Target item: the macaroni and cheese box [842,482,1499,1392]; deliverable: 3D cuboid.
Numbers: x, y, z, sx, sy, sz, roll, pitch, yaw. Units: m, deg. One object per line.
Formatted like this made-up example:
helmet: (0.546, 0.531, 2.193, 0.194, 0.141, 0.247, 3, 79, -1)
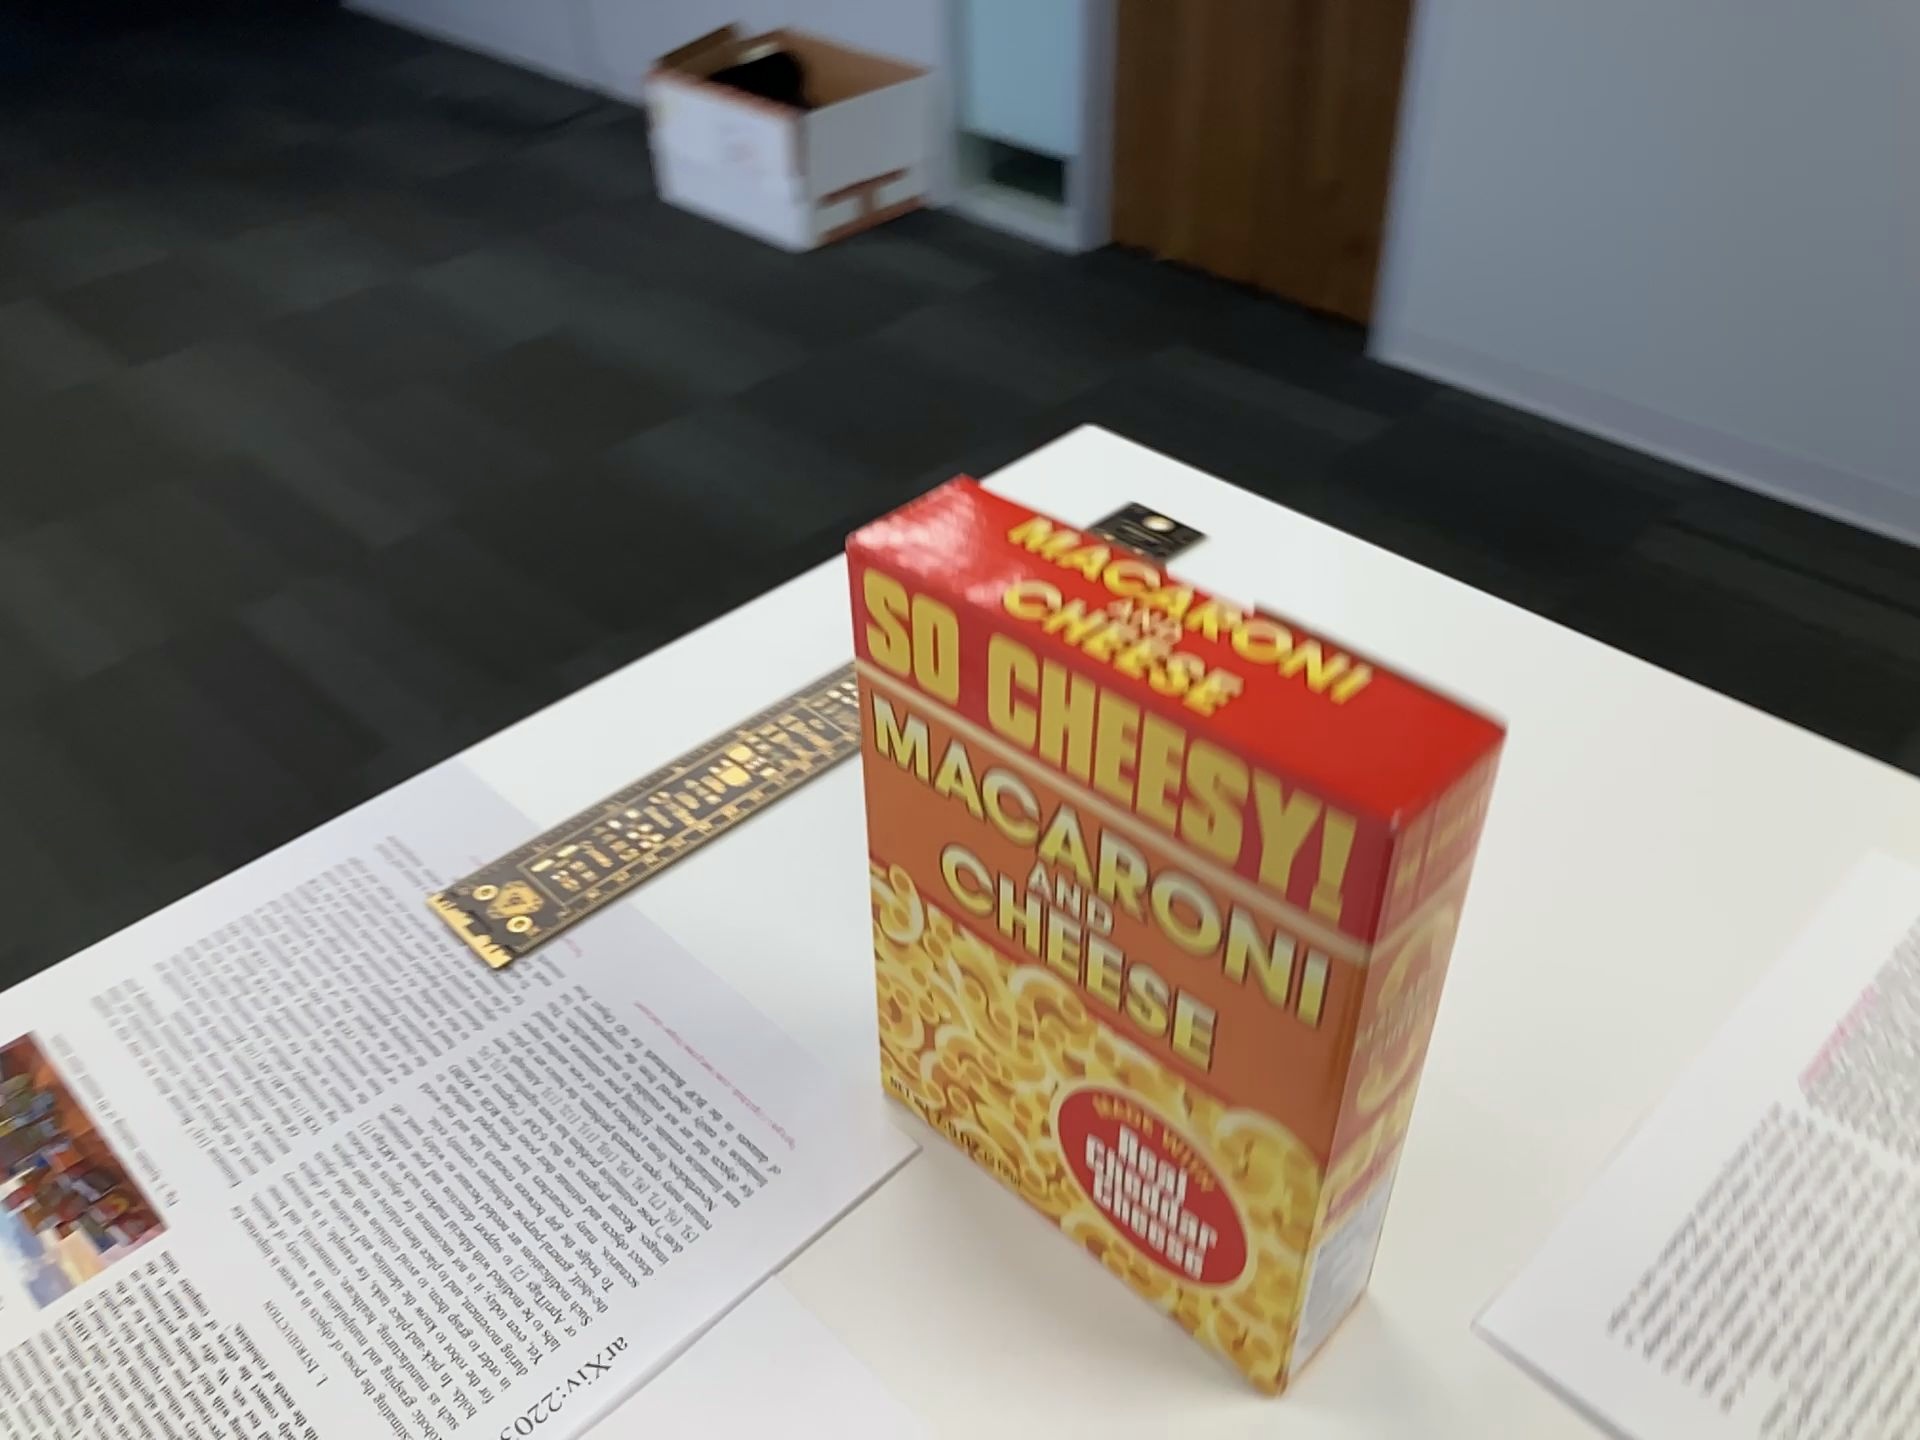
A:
macaroni and cheese box: (0.035, 0.047, 0.336, 0.124, 0.166, 0.040, 29, 47, 33)
